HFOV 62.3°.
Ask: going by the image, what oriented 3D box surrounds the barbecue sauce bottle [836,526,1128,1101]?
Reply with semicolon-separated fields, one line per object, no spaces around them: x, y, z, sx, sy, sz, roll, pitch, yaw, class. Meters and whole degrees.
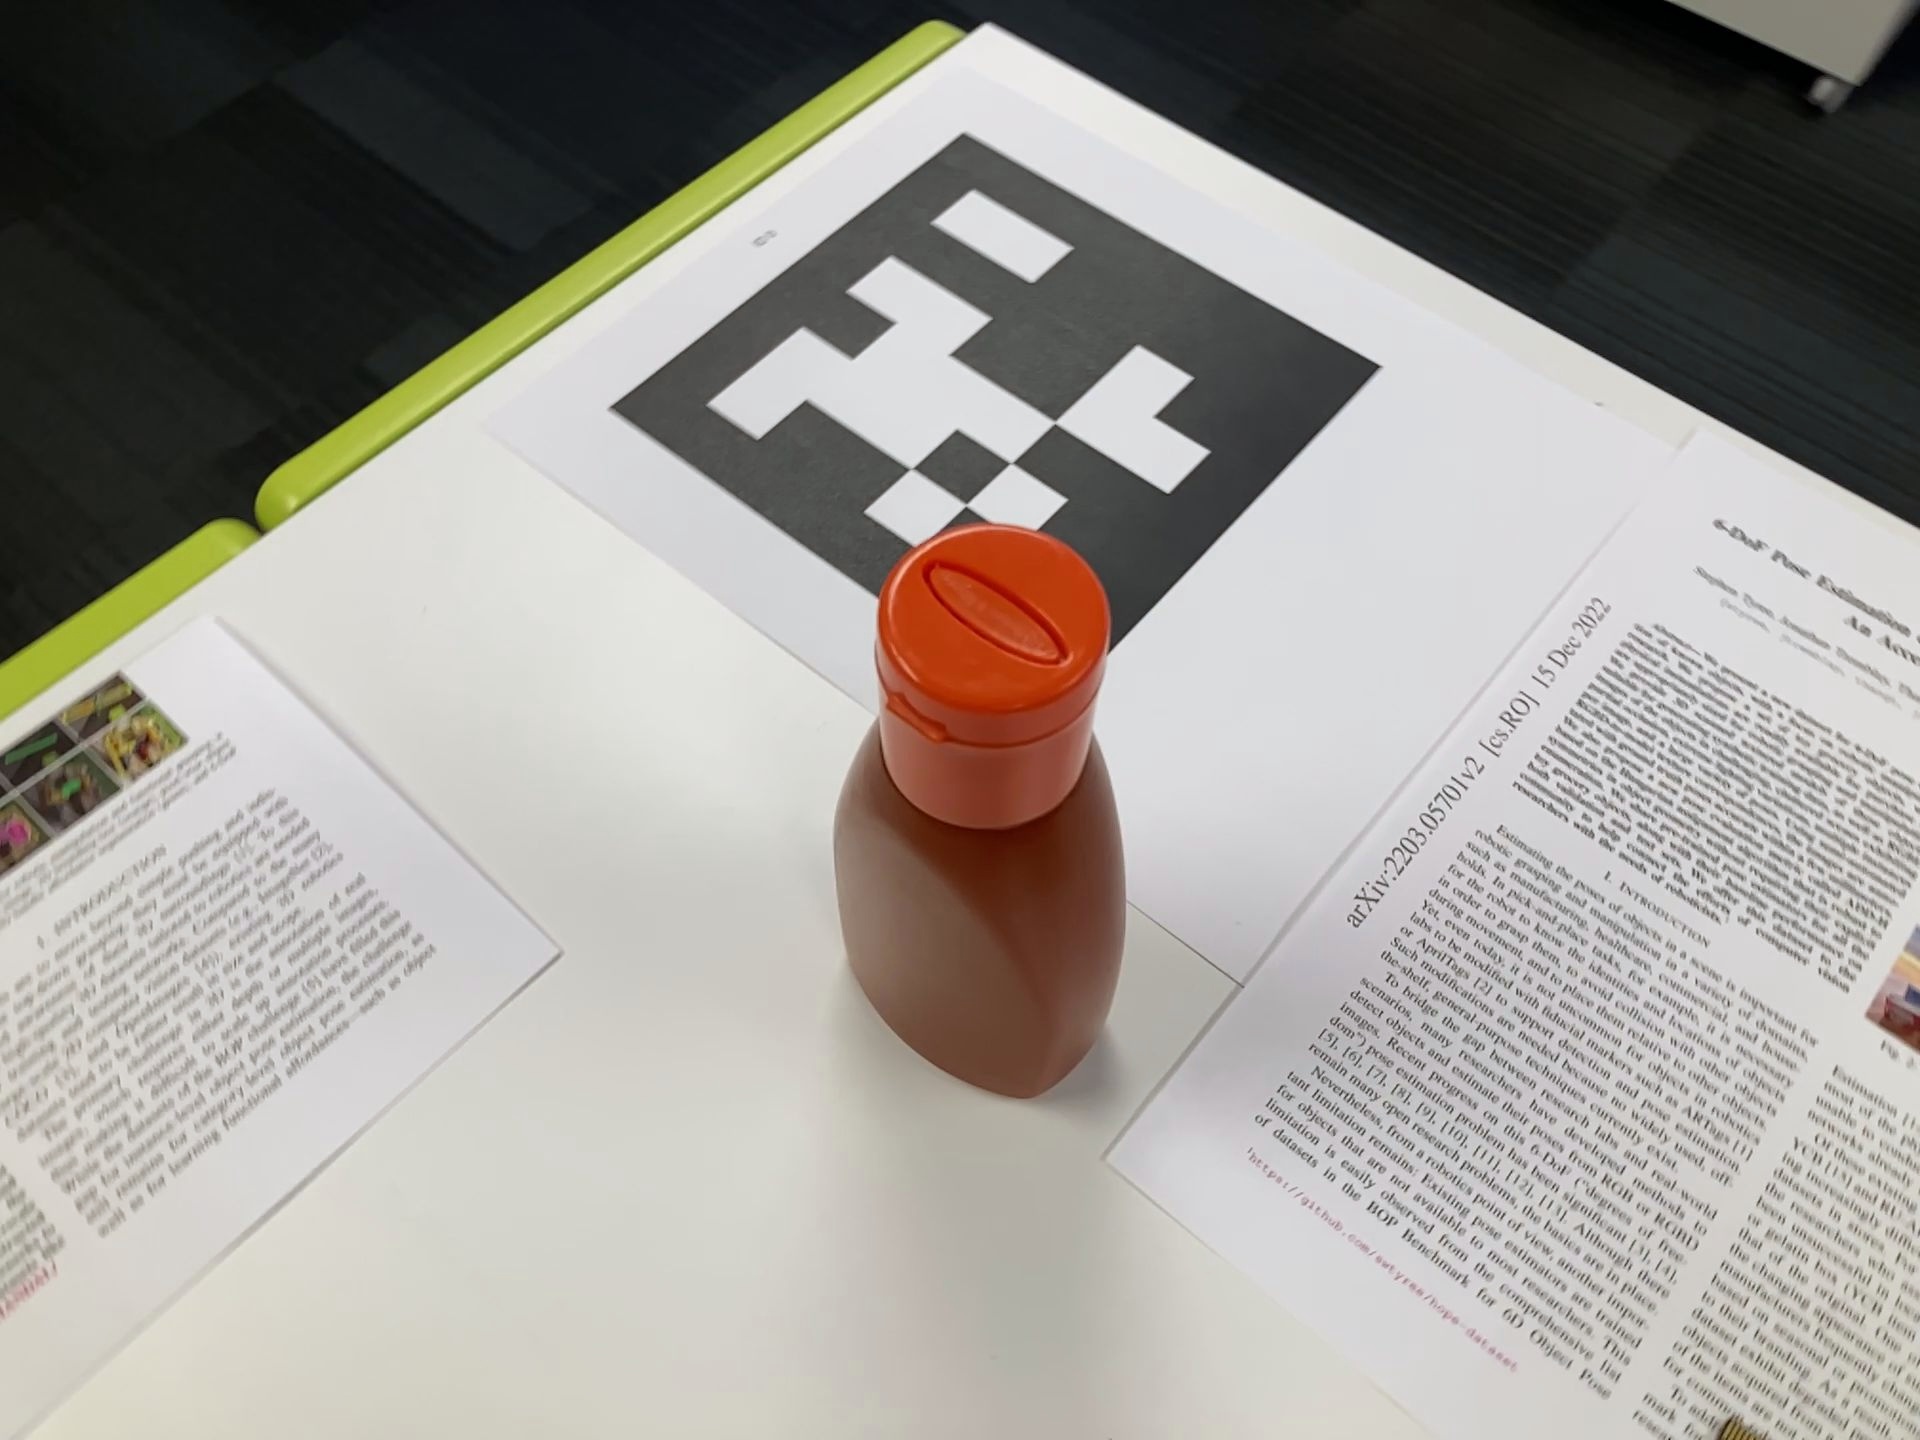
0.004;0.023;0.305;0.065;0.148;0.043;37;65;20;barbecue sauce bottle
